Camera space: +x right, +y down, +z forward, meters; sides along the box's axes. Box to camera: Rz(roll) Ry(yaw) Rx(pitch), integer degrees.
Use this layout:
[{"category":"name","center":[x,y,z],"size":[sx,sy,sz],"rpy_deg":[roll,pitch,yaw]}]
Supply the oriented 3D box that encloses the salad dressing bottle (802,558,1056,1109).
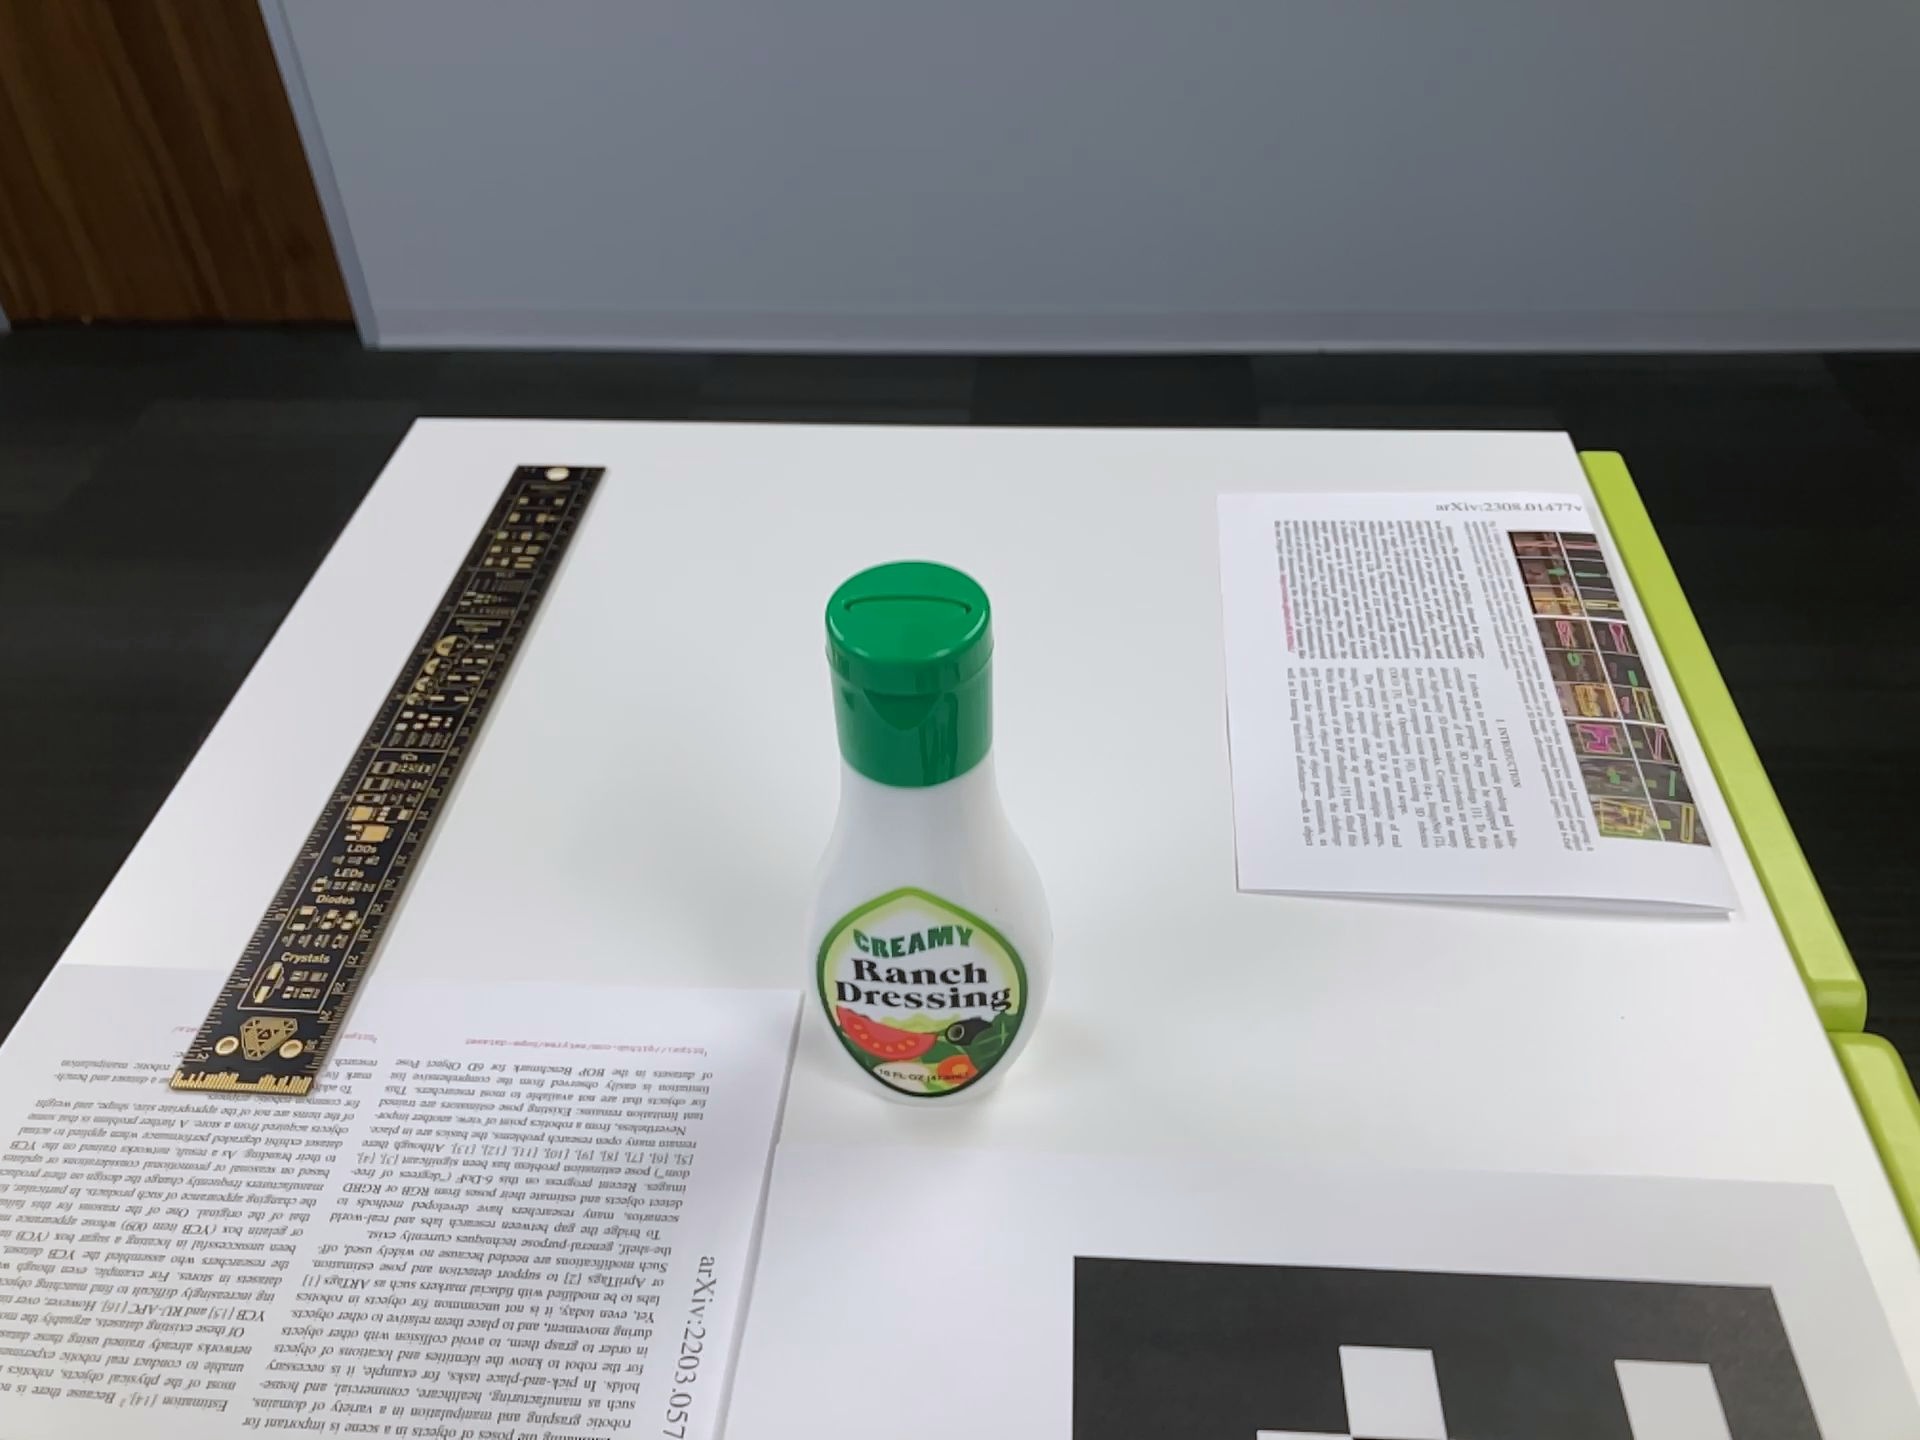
[{"category":"salad dressing bottle","center":[-0.009,0.032,0.382],"size":[0.064,0.147,0.044],"rpy_deg":[1,40,5]}]
